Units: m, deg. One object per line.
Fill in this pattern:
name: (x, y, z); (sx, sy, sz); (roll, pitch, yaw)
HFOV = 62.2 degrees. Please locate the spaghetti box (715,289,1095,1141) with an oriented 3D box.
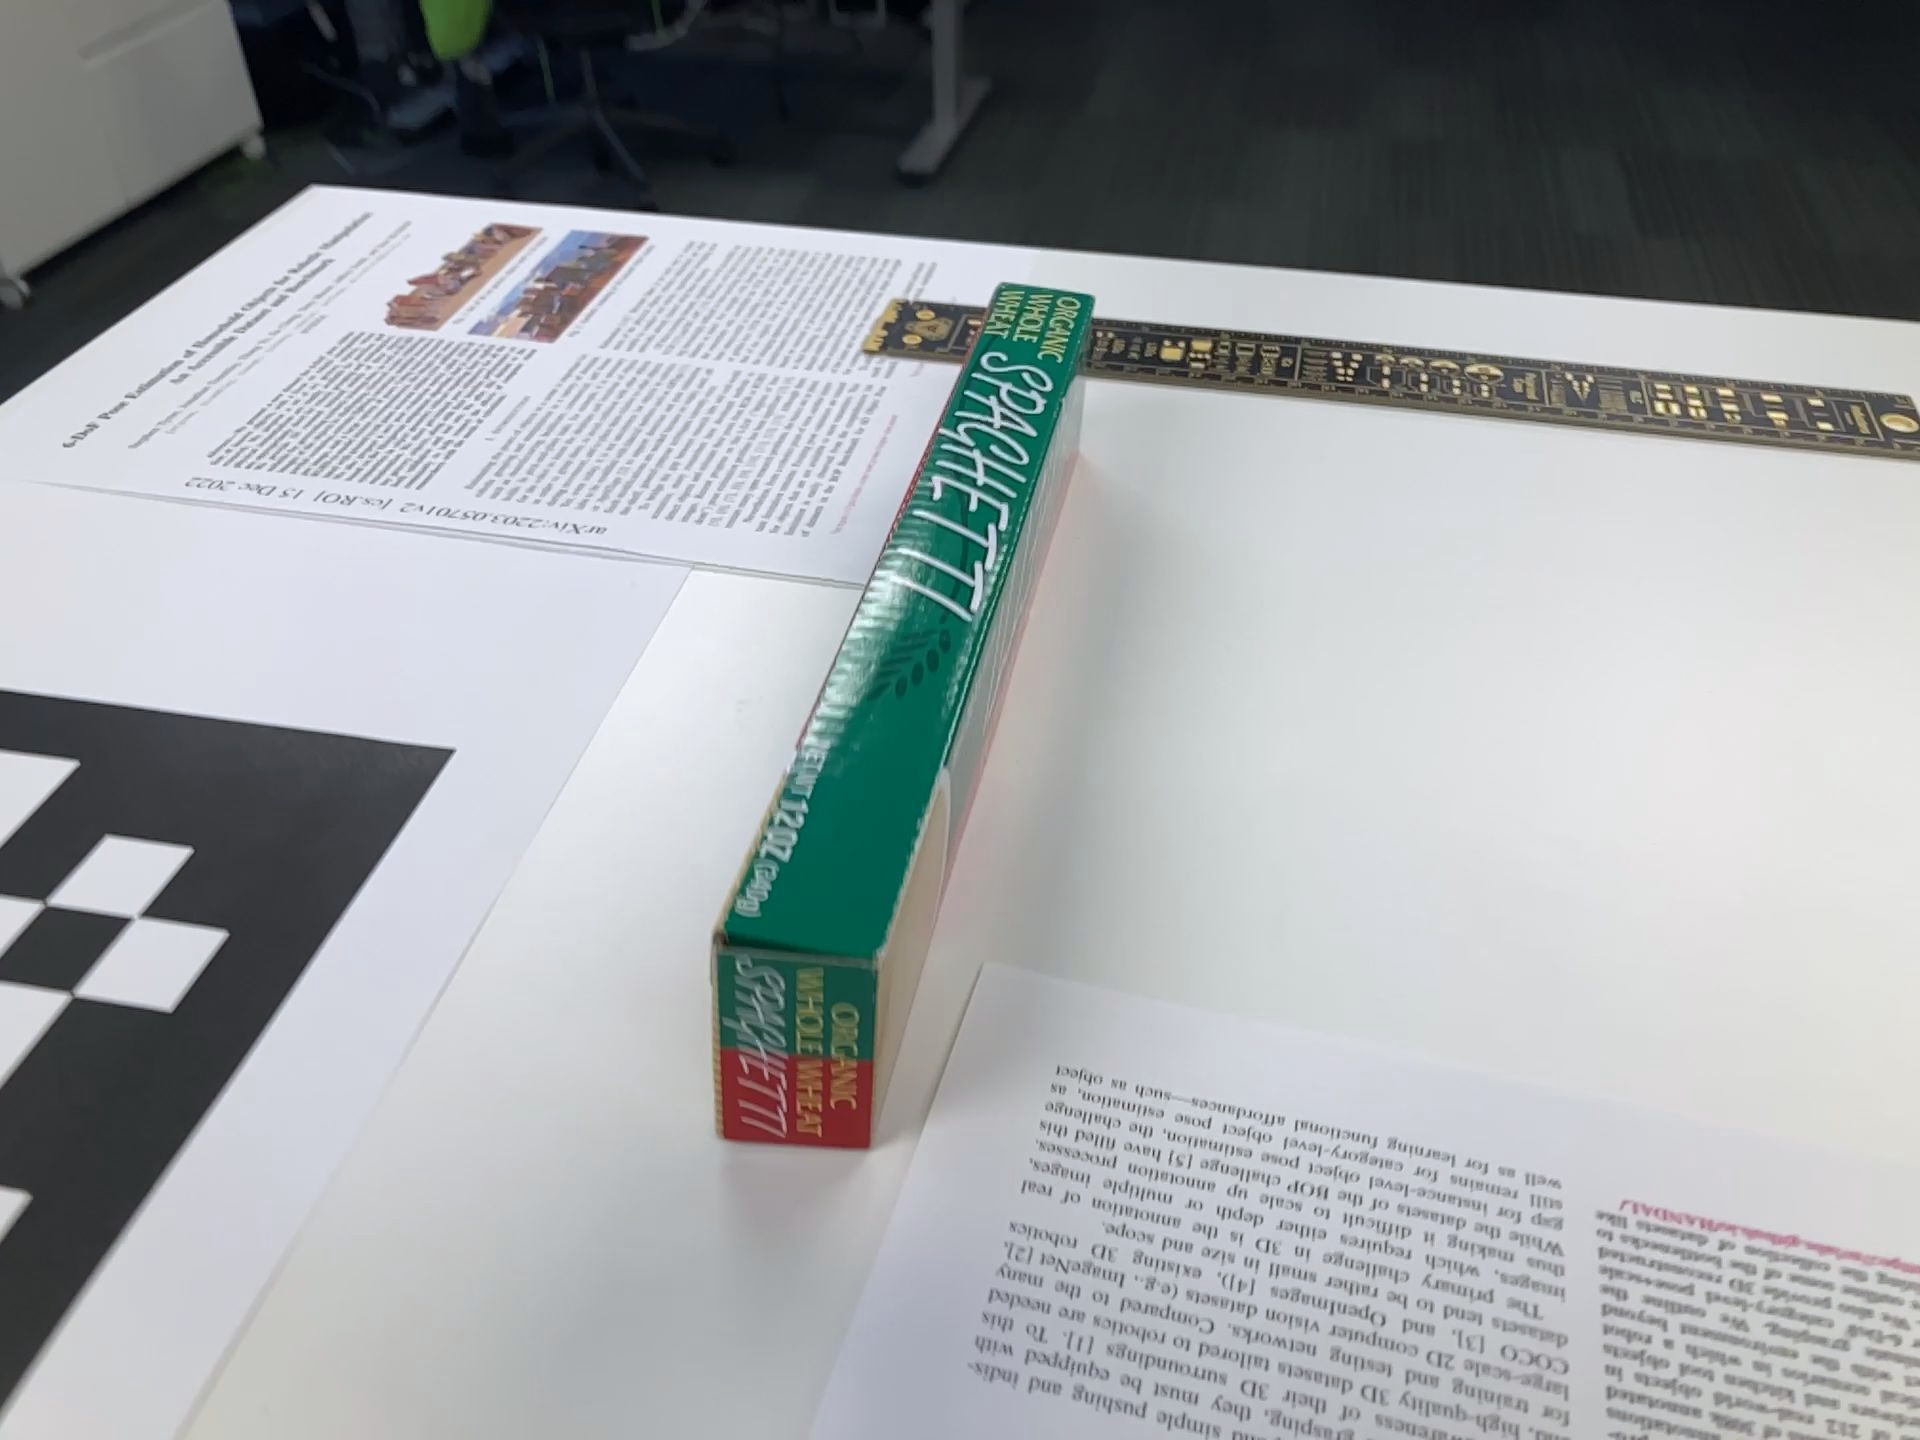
spaghetti box: (-0.003, -0.023, 0.356); (0.028, 0.050, 0.250); (11, 40, 6)
